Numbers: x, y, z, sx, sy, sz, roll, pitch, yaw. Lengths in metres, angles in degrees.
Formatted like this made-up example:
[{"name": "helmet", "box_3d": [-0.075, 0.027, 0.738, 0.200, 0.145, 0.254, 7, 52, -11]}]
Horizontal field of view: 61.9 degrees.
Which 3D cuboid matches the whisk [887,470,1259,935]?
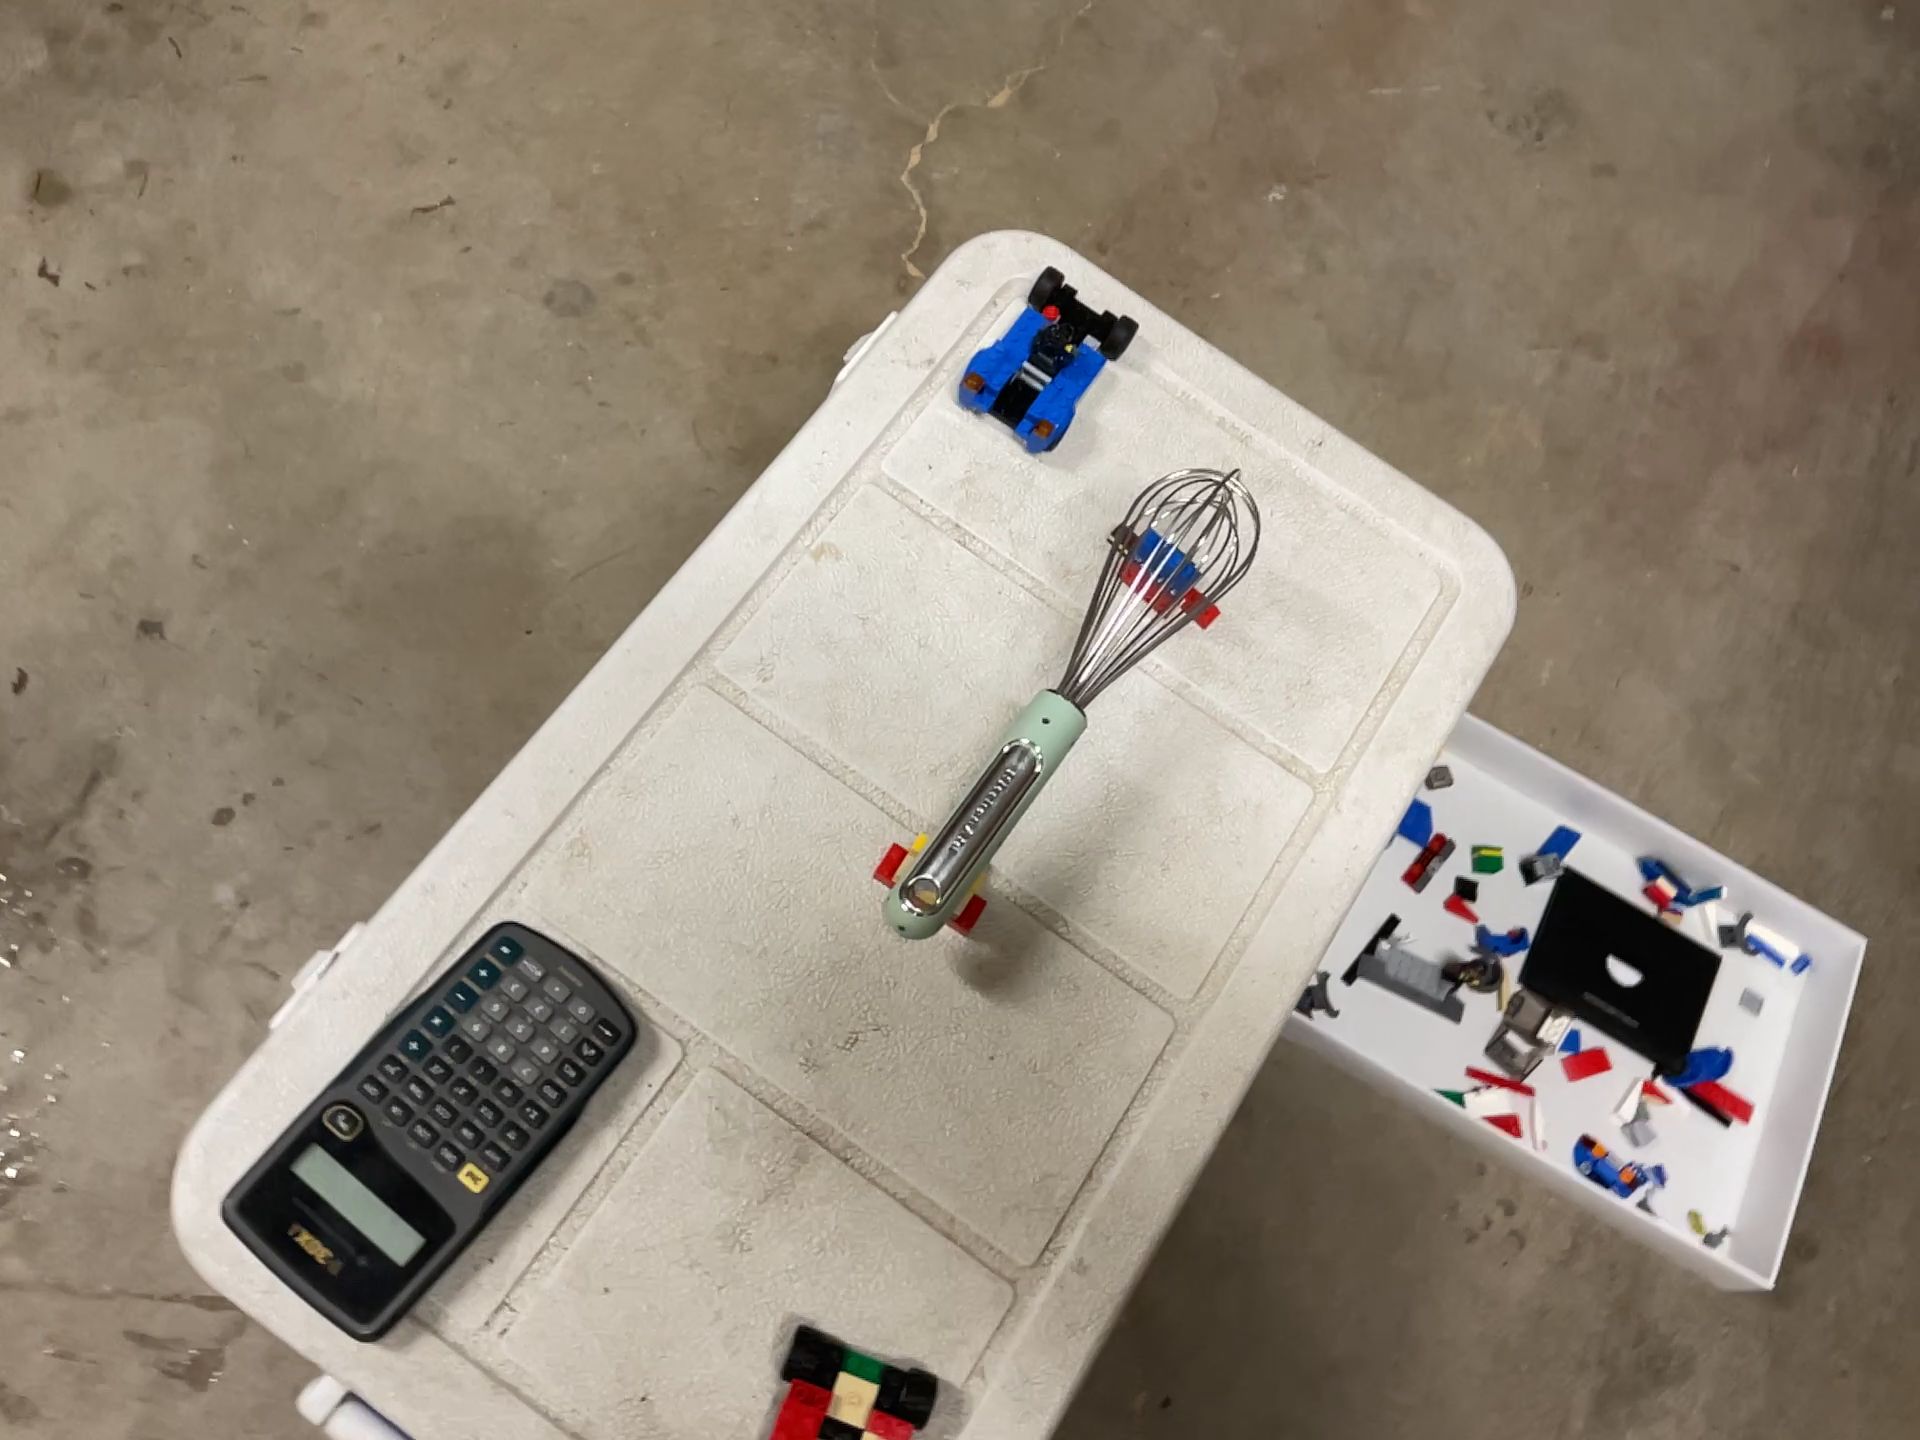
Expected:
[{"name": "whisk", "box_3d": [0.048, -0.012, 0.669, 0.058, 0.059, 0.246, 34, 74, 10]}]
